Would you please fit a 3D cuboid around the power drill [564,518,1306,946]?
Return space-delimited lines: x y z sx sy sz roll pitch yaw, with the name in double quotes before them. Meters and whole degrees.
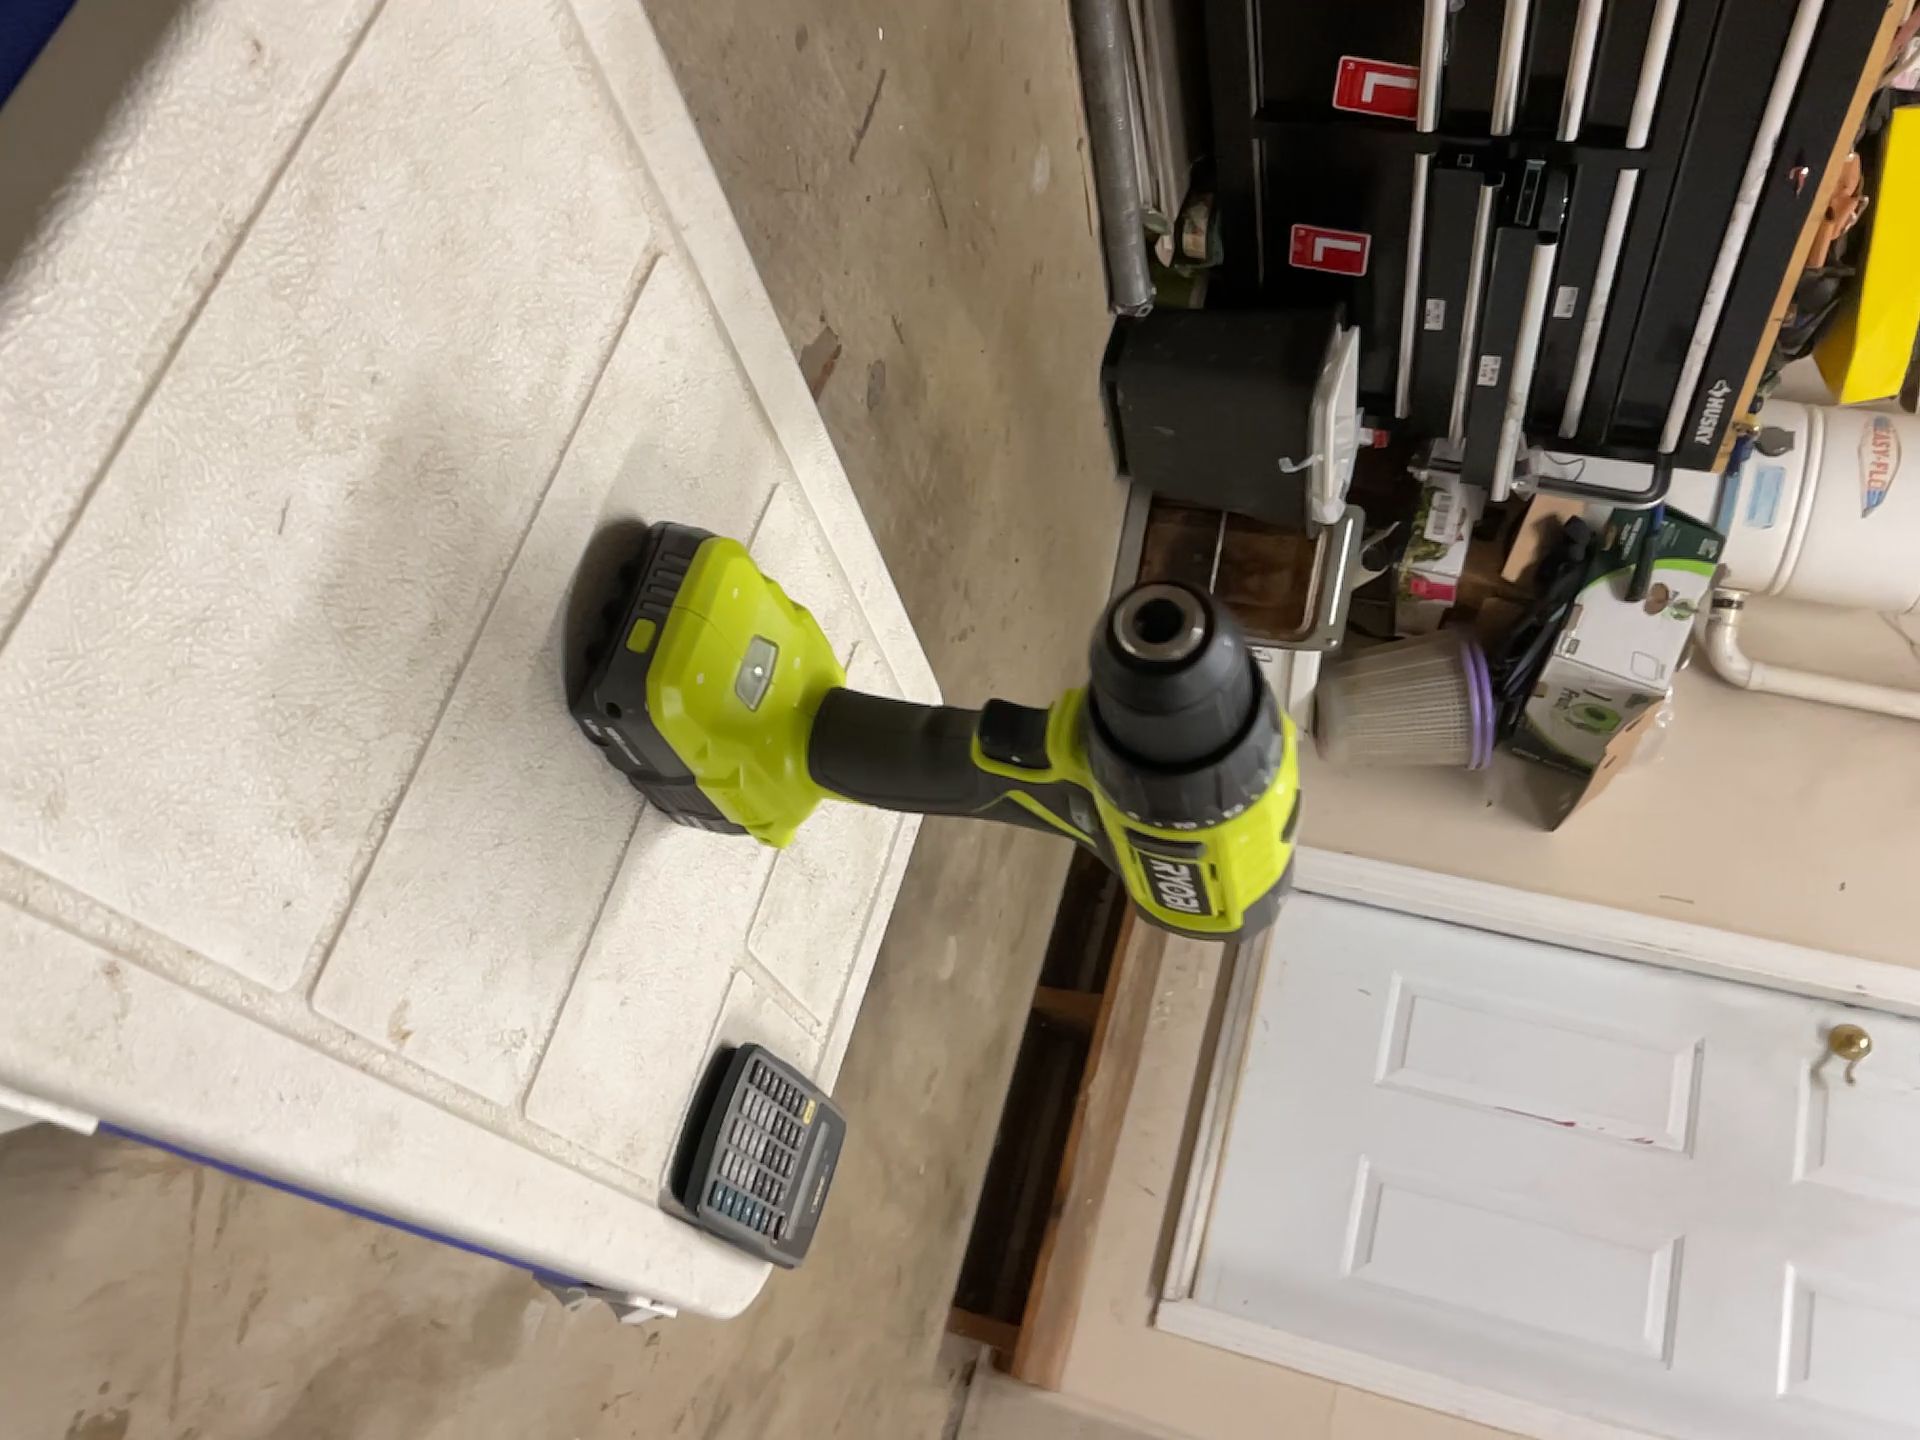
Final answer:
"power drill" -0.004 0.000 0.515 0.190 0.228 0.080 63 41 -62
